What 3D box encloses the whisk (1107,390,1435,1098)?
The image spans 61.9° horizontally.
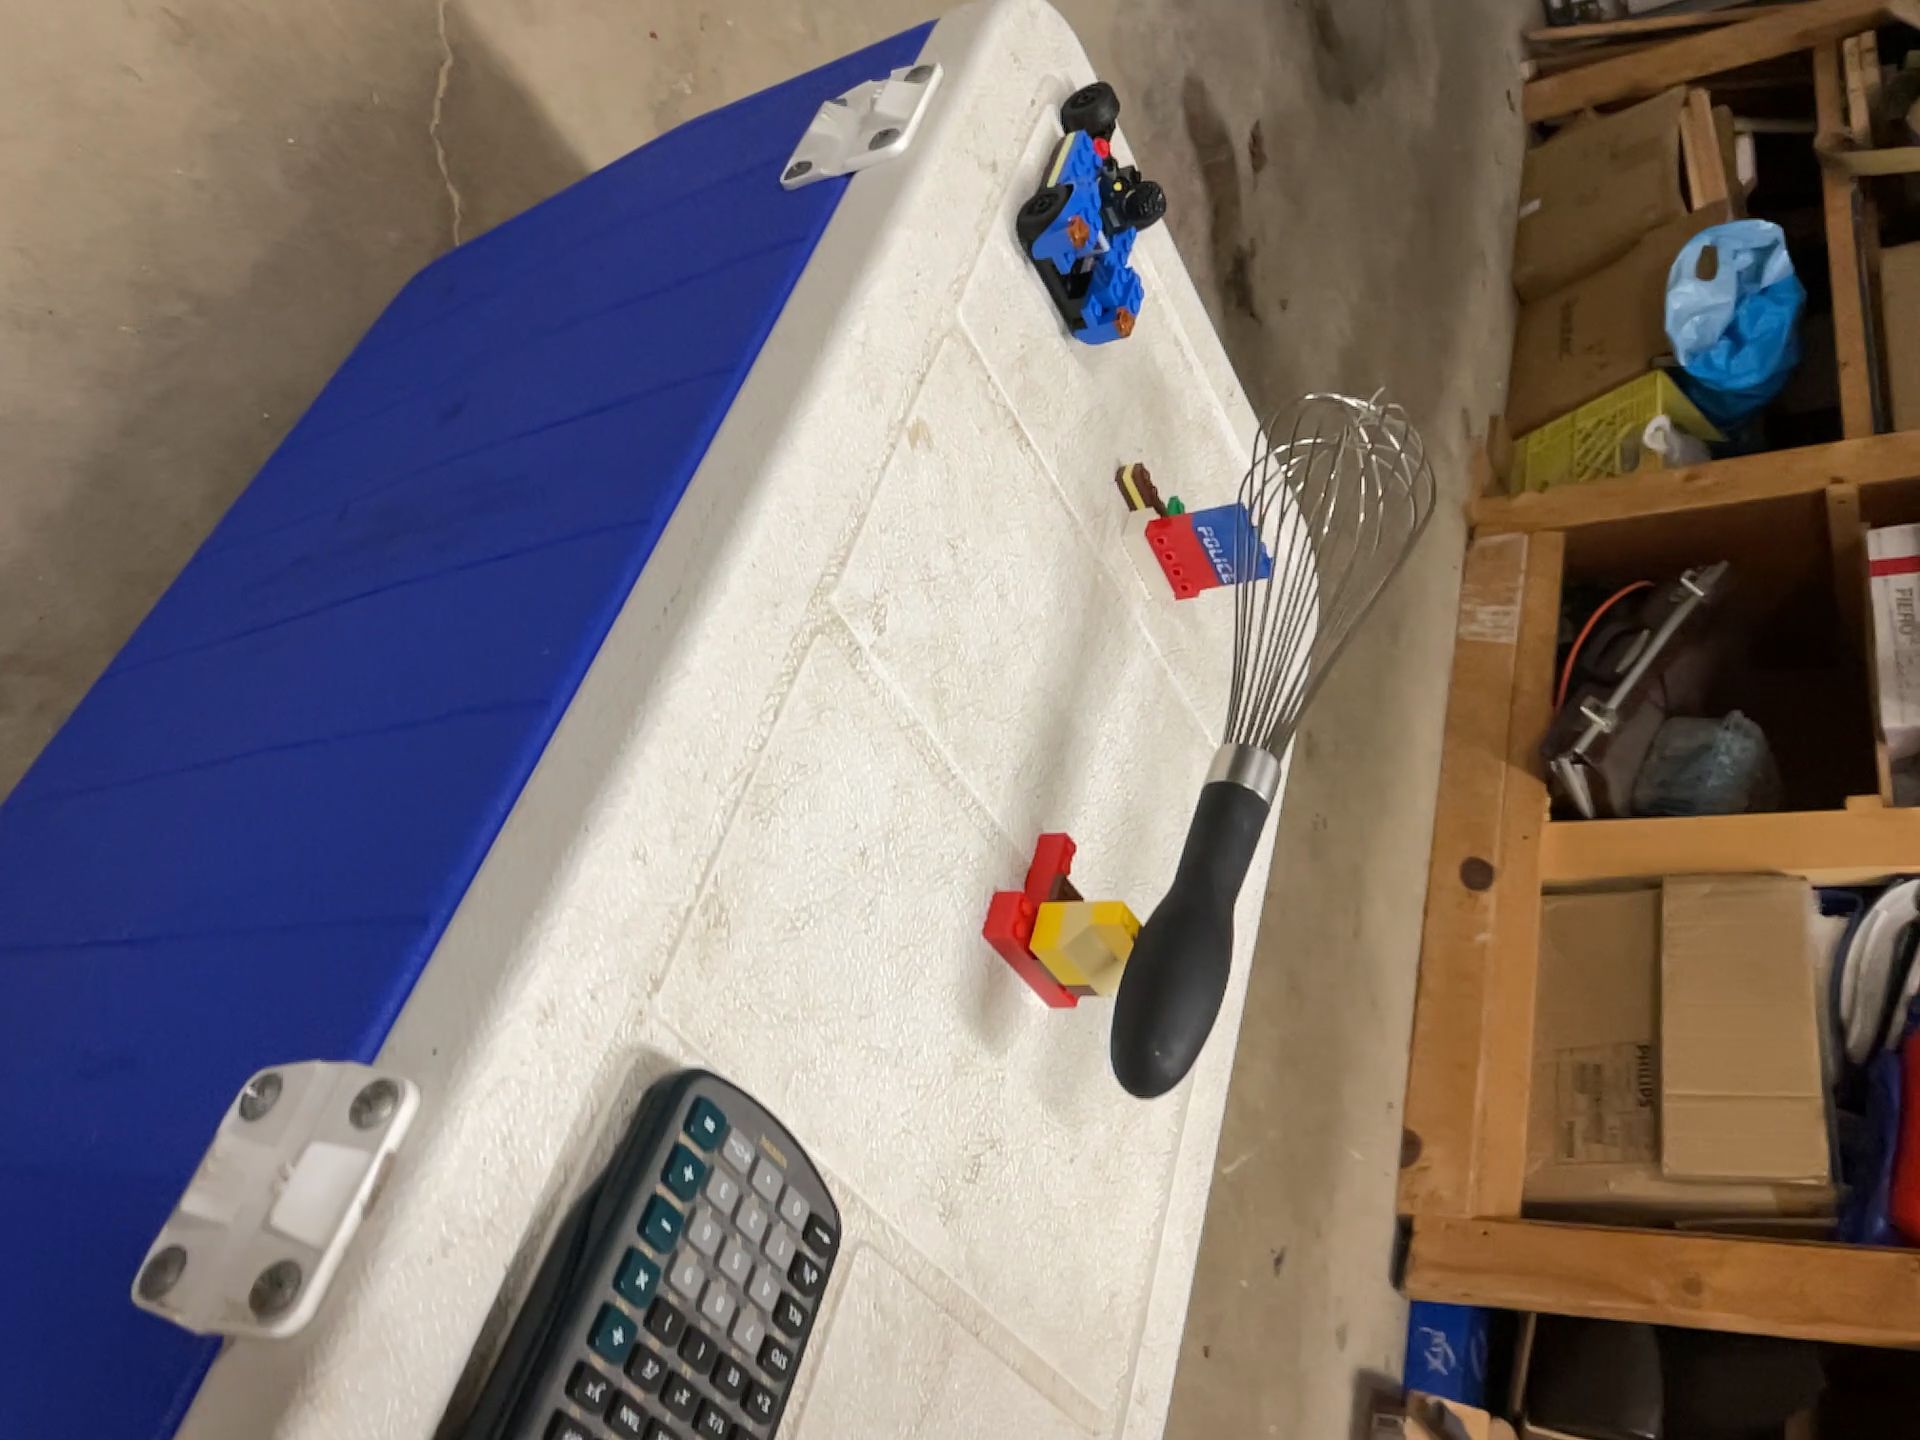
[{"bbox_3d":[0.102,-0.005,0.527,0.070,0.070,0.285,57,47,-43],"label":"whisk"}]
